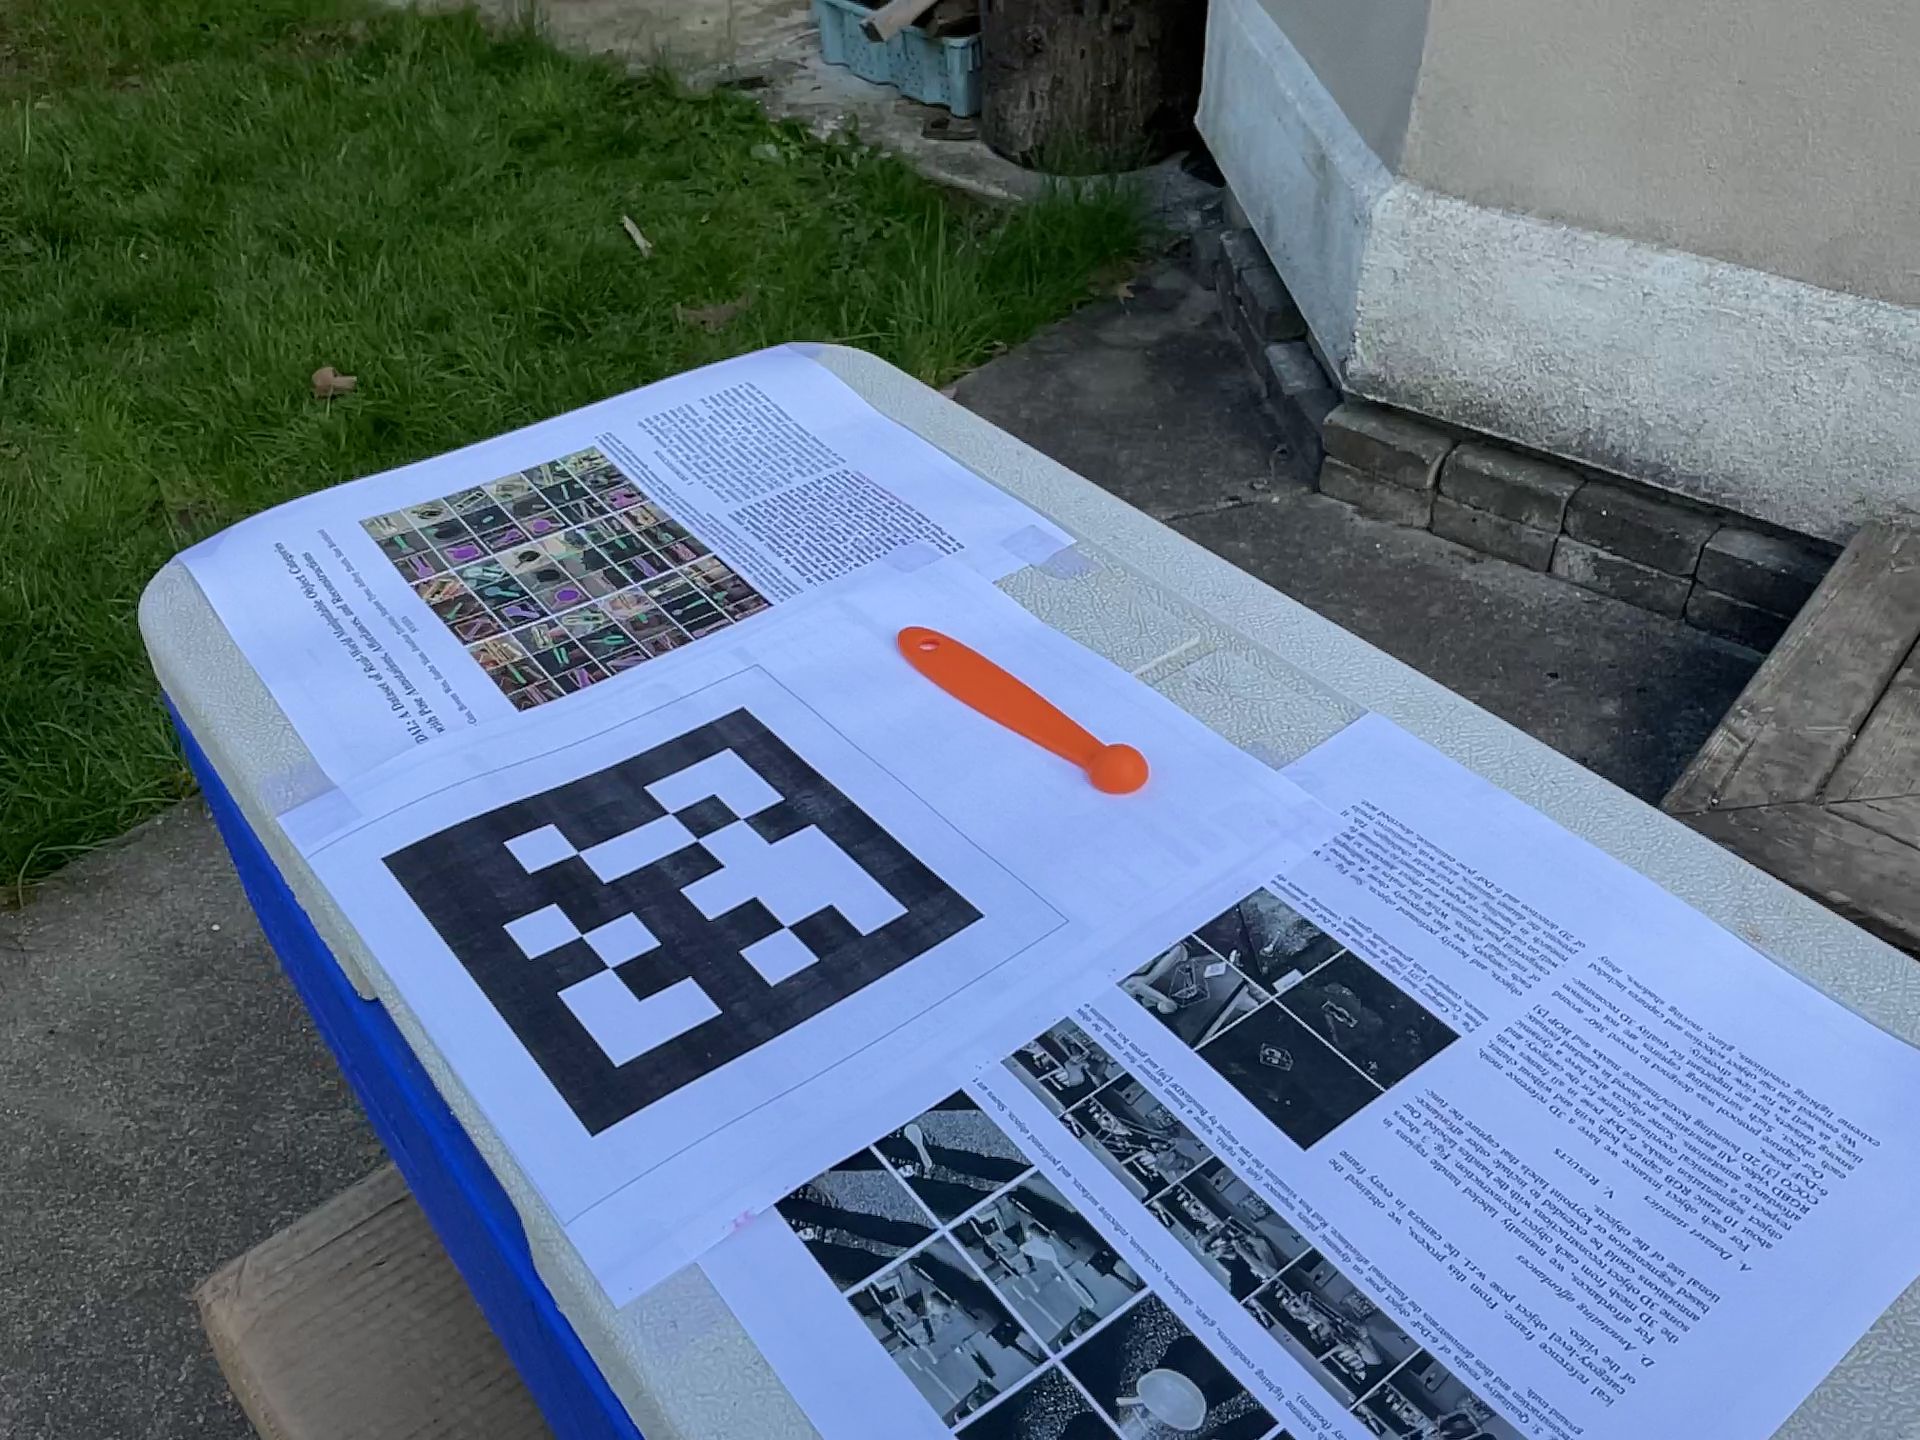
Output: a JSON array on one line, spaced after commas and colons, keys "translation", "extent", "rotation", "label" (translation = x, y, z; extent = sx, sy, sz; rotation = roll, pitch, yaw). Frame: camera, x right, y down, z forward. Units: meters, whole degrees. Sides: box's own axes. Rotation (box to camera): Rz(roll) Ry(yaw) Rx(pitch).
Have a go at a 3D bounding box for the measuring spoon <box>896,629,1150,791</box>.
[{"translation": [0.018, -0.008, 0.538], "extent": [0.021, 0.011, 0.117], "rotation": [-25, 43, -34], "label": "measuring spoon"}]
